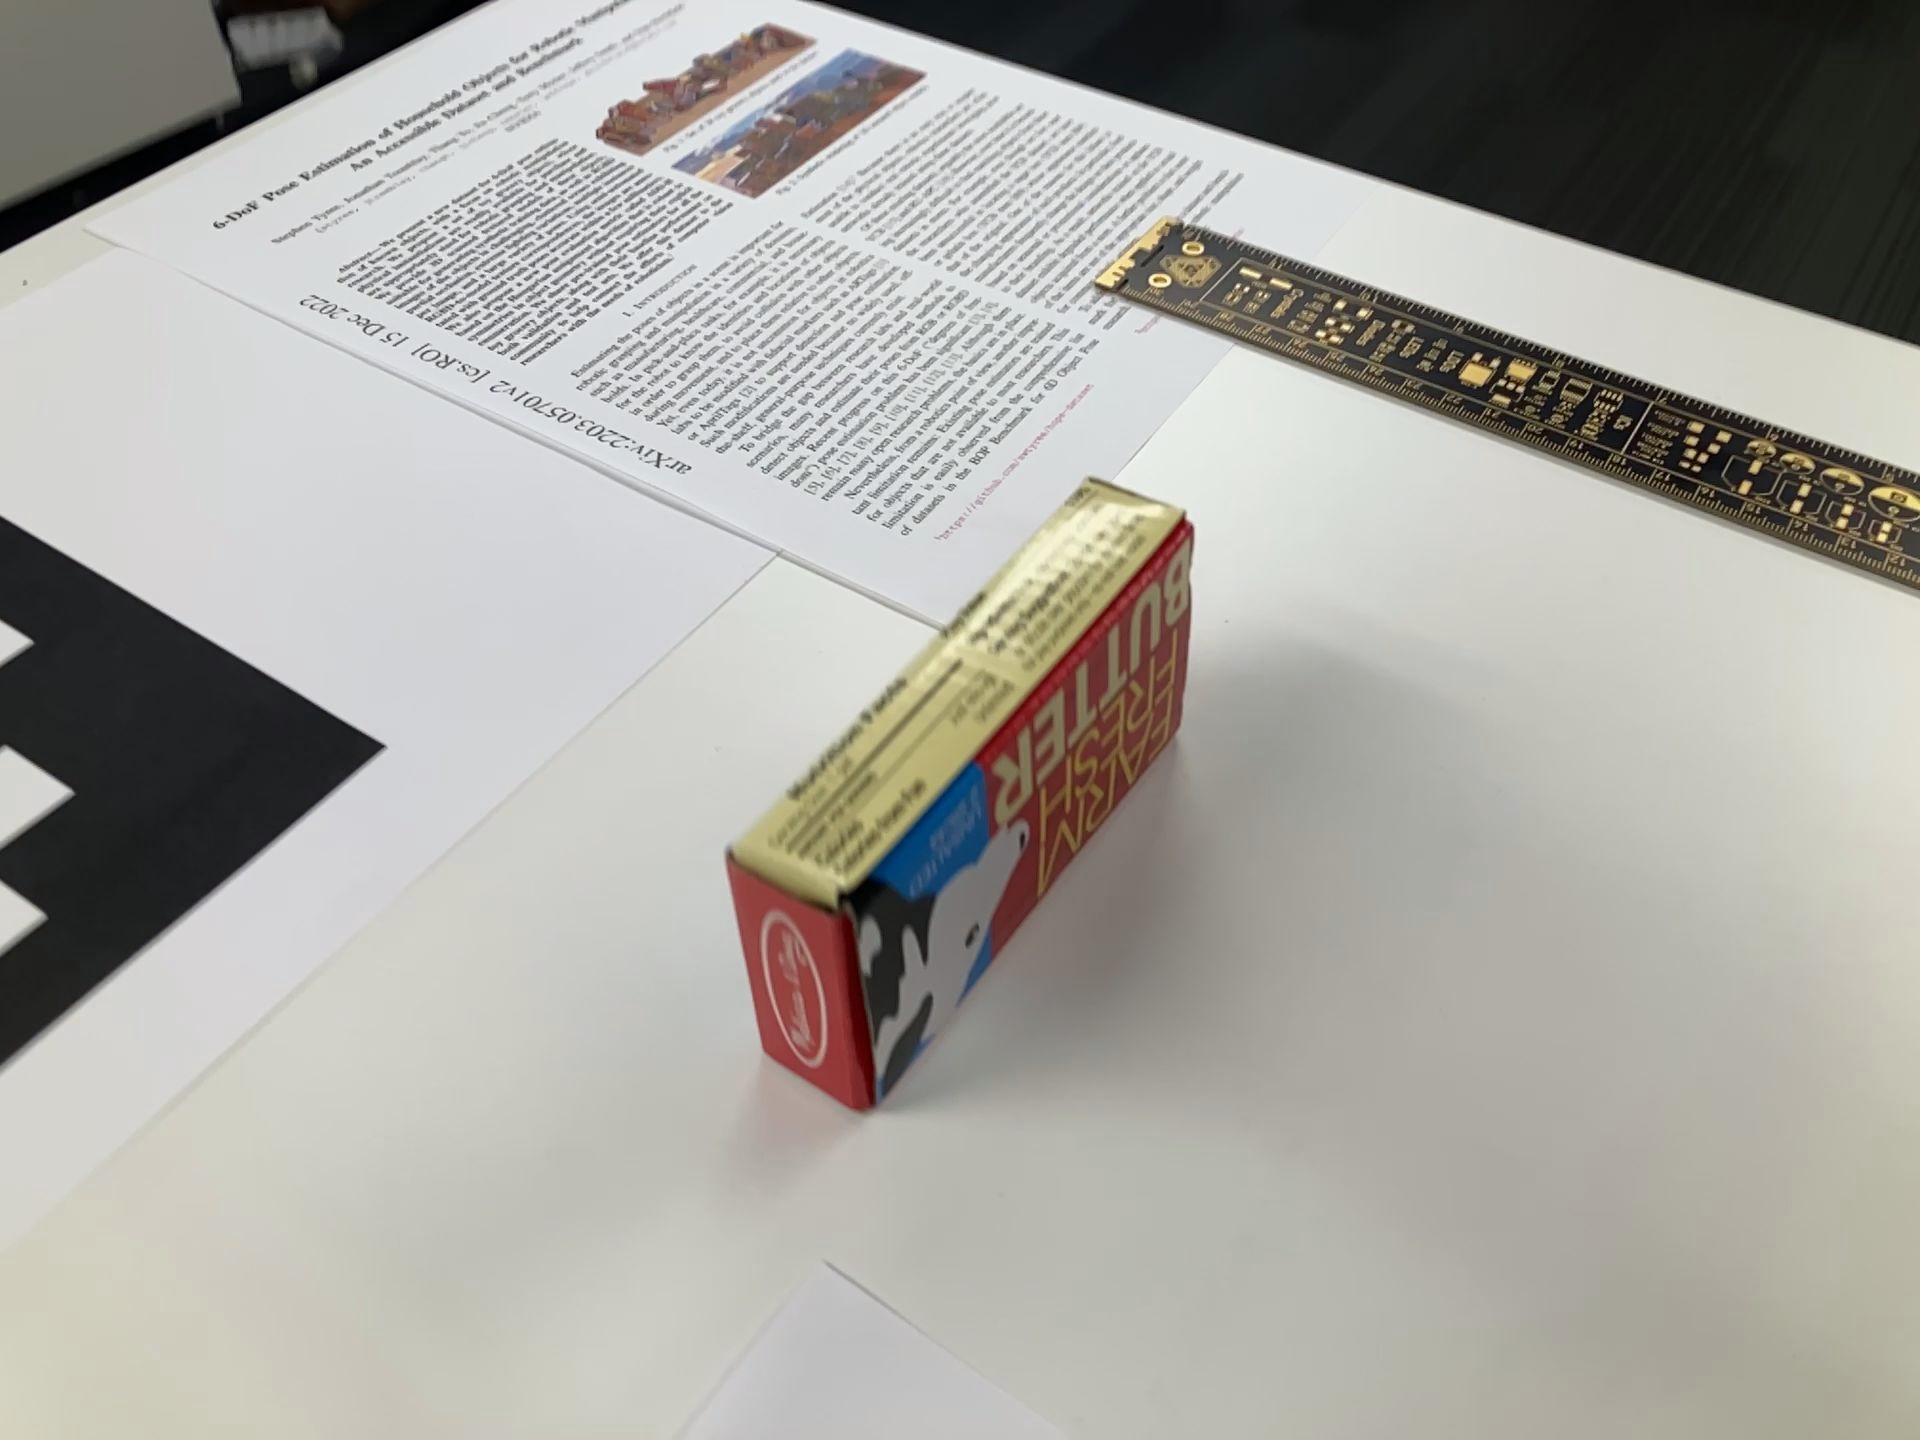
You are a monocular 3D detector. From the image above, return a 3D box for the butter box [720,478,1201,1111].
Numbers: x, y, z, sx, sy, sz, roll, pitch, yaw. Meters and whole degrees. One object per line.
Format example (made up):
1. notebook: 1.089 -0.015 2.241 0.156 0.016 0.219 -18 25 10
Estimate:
1. butter box: 0.005 0.009 0.263 0.024 0.053 0.103 25 52 24
